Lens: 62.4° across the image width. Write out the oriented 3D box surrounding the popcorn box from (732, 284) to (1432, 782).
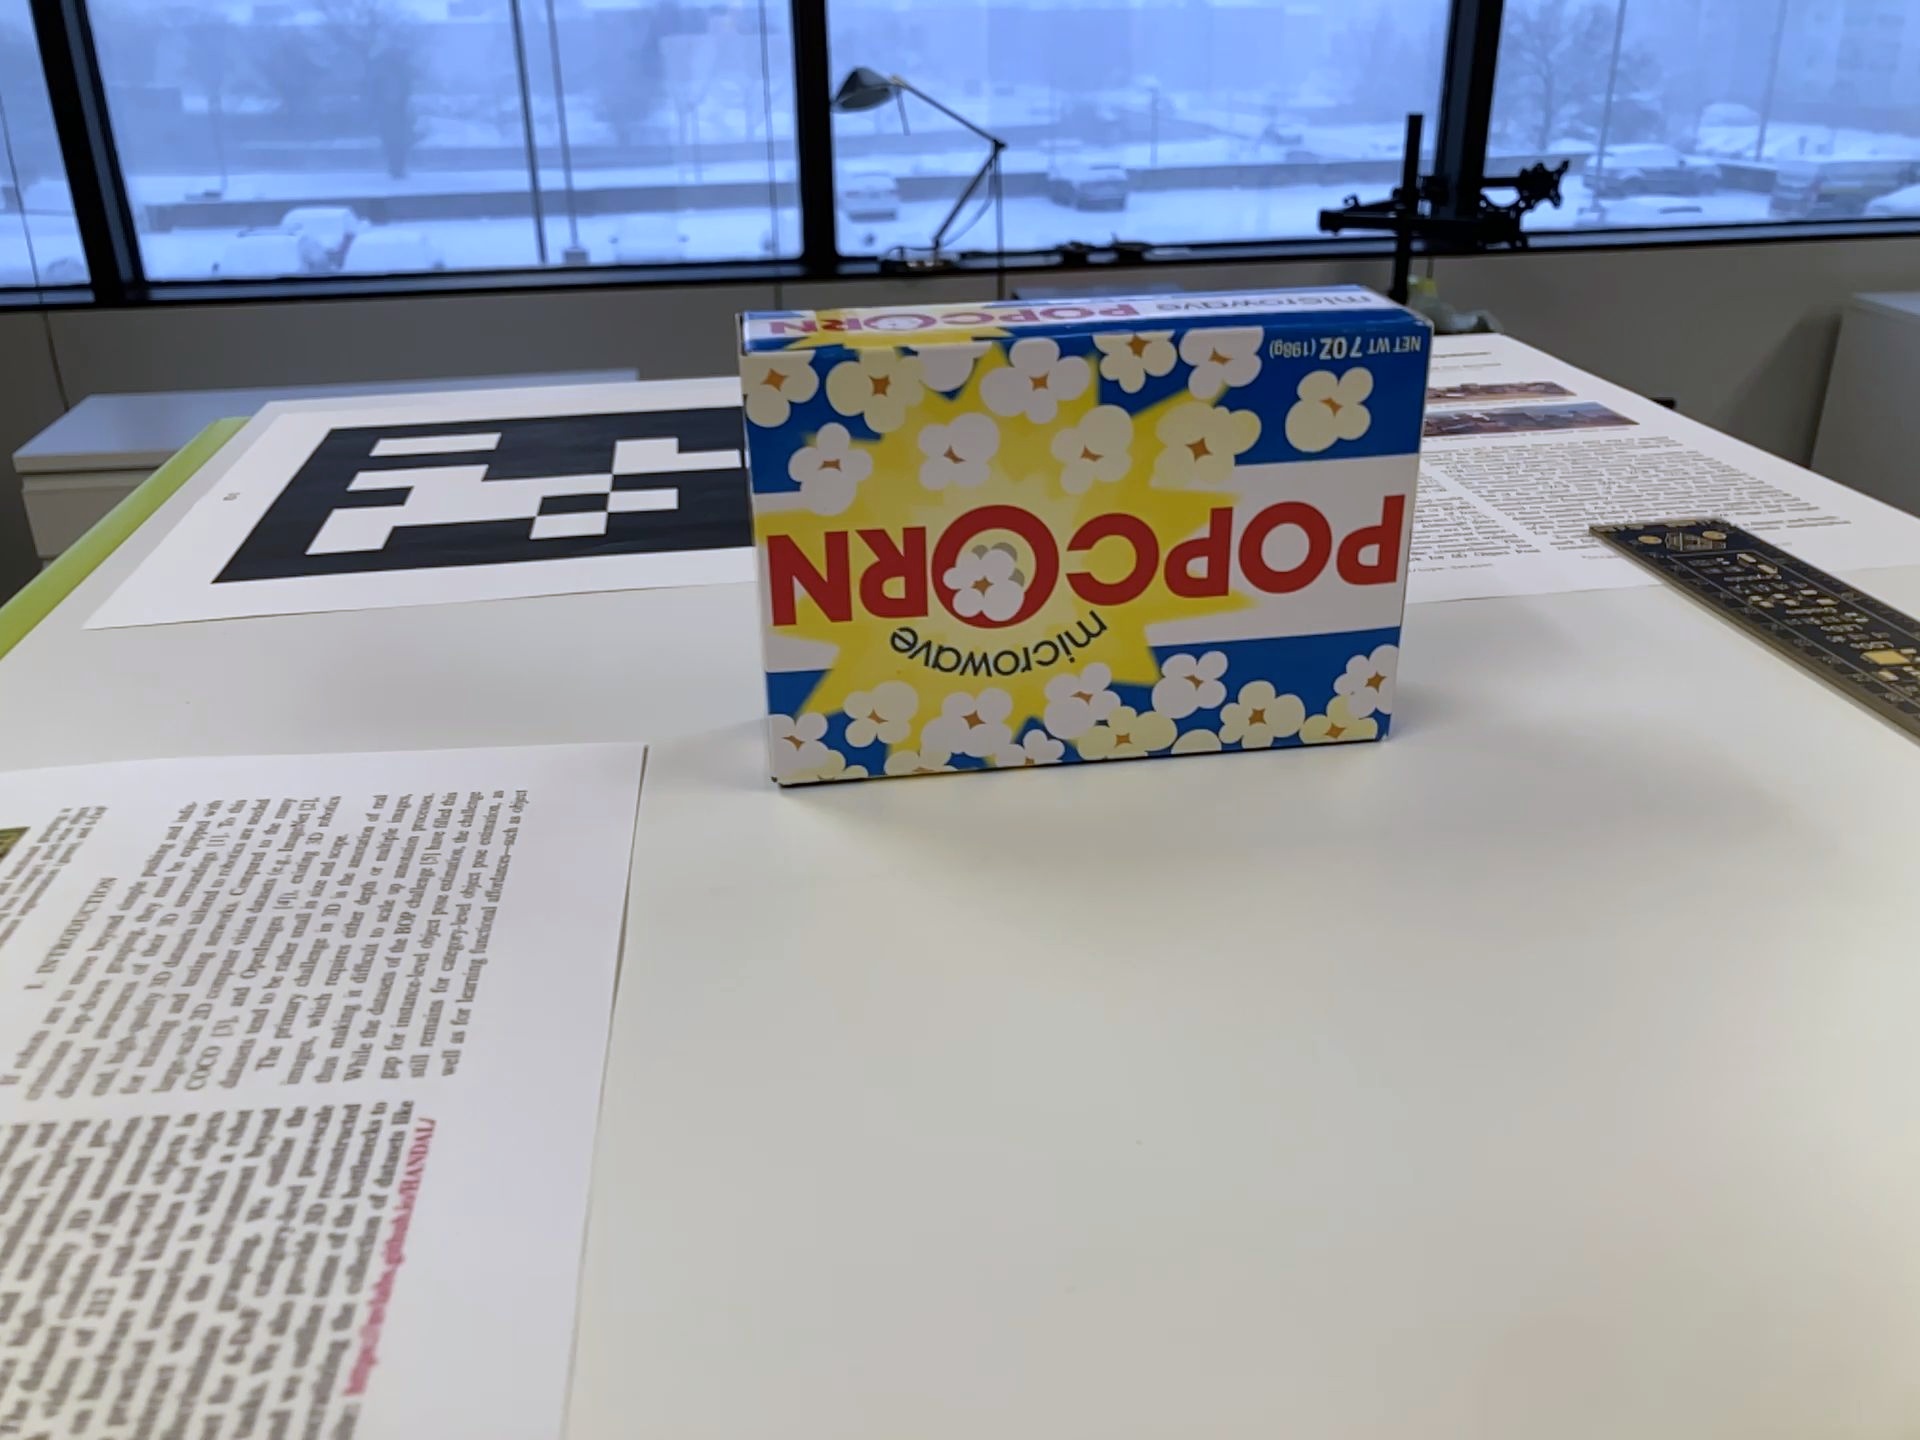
[{"bbox_3d":[0.022,-0.037,0.309,0.126,0.085,0.038,-4,25,-7],"label":"popcorn box"}]
